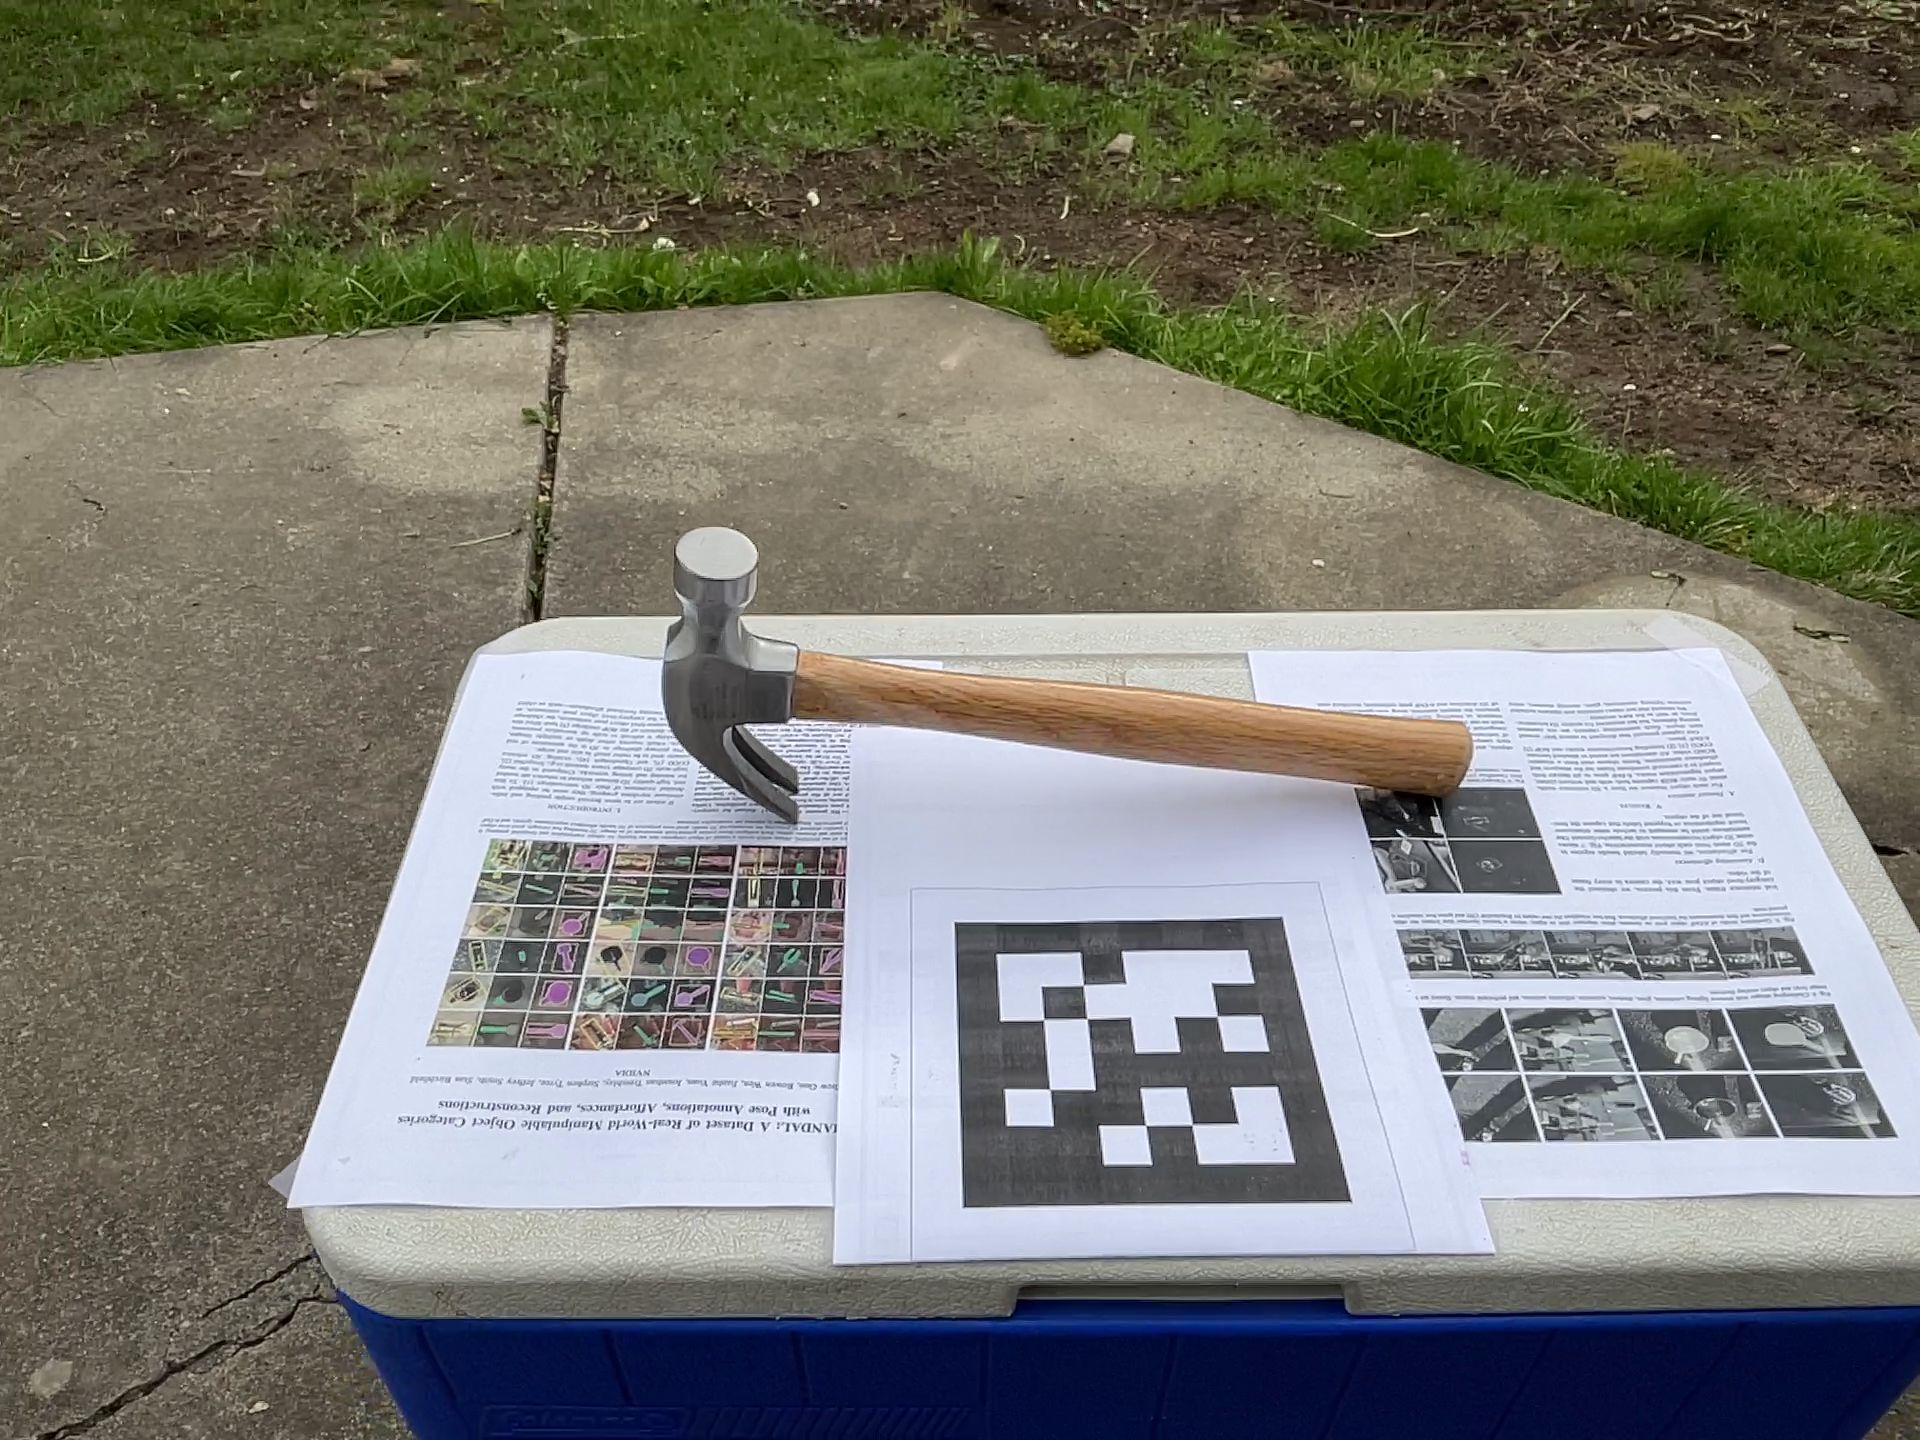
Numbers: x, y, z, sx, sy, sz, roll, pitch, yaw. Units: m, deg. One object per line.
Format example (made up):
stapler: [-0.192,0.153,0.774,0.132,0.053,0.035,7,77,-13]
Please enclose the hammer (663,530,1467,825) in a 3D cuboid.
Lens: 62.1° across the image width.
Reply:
hammer: [0.045,0.001,0.655,0.331,0.130,0.031,7,44,-8]
